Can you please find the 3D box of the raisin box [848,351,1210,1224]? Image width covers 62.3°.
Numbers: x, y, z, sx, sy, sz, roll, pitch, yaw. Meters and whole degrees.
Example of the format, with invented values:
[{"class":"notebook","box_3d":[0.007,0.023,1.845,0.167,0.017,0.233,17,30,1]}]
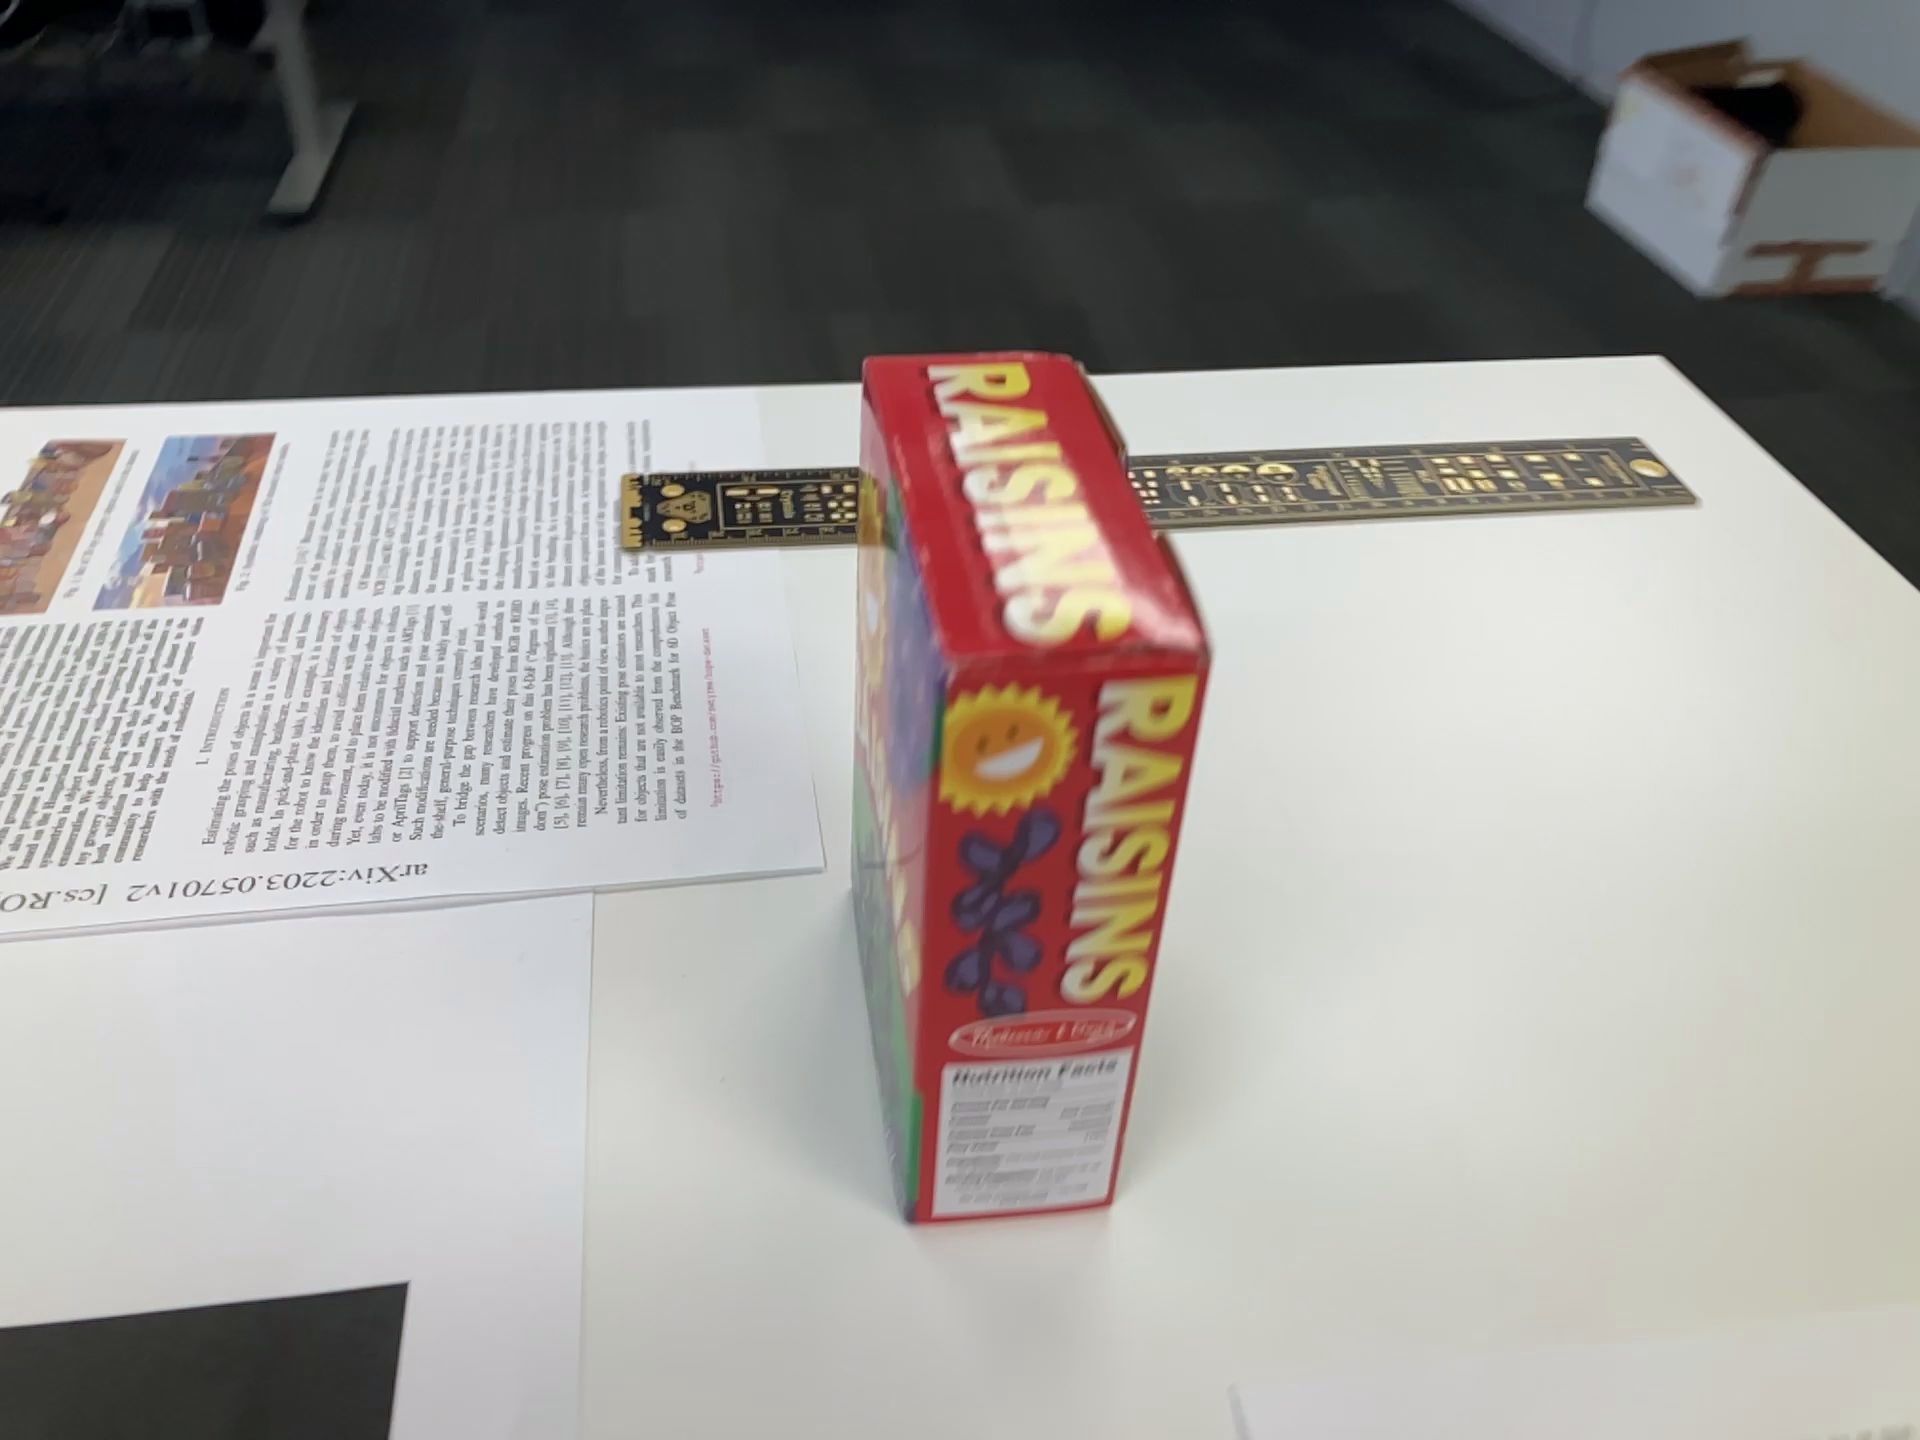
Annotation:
[{"class":"raisin box","box_3d":[0.005,0.012,0.267,0.040,0.123,0.086,-3,39,-9]}]
